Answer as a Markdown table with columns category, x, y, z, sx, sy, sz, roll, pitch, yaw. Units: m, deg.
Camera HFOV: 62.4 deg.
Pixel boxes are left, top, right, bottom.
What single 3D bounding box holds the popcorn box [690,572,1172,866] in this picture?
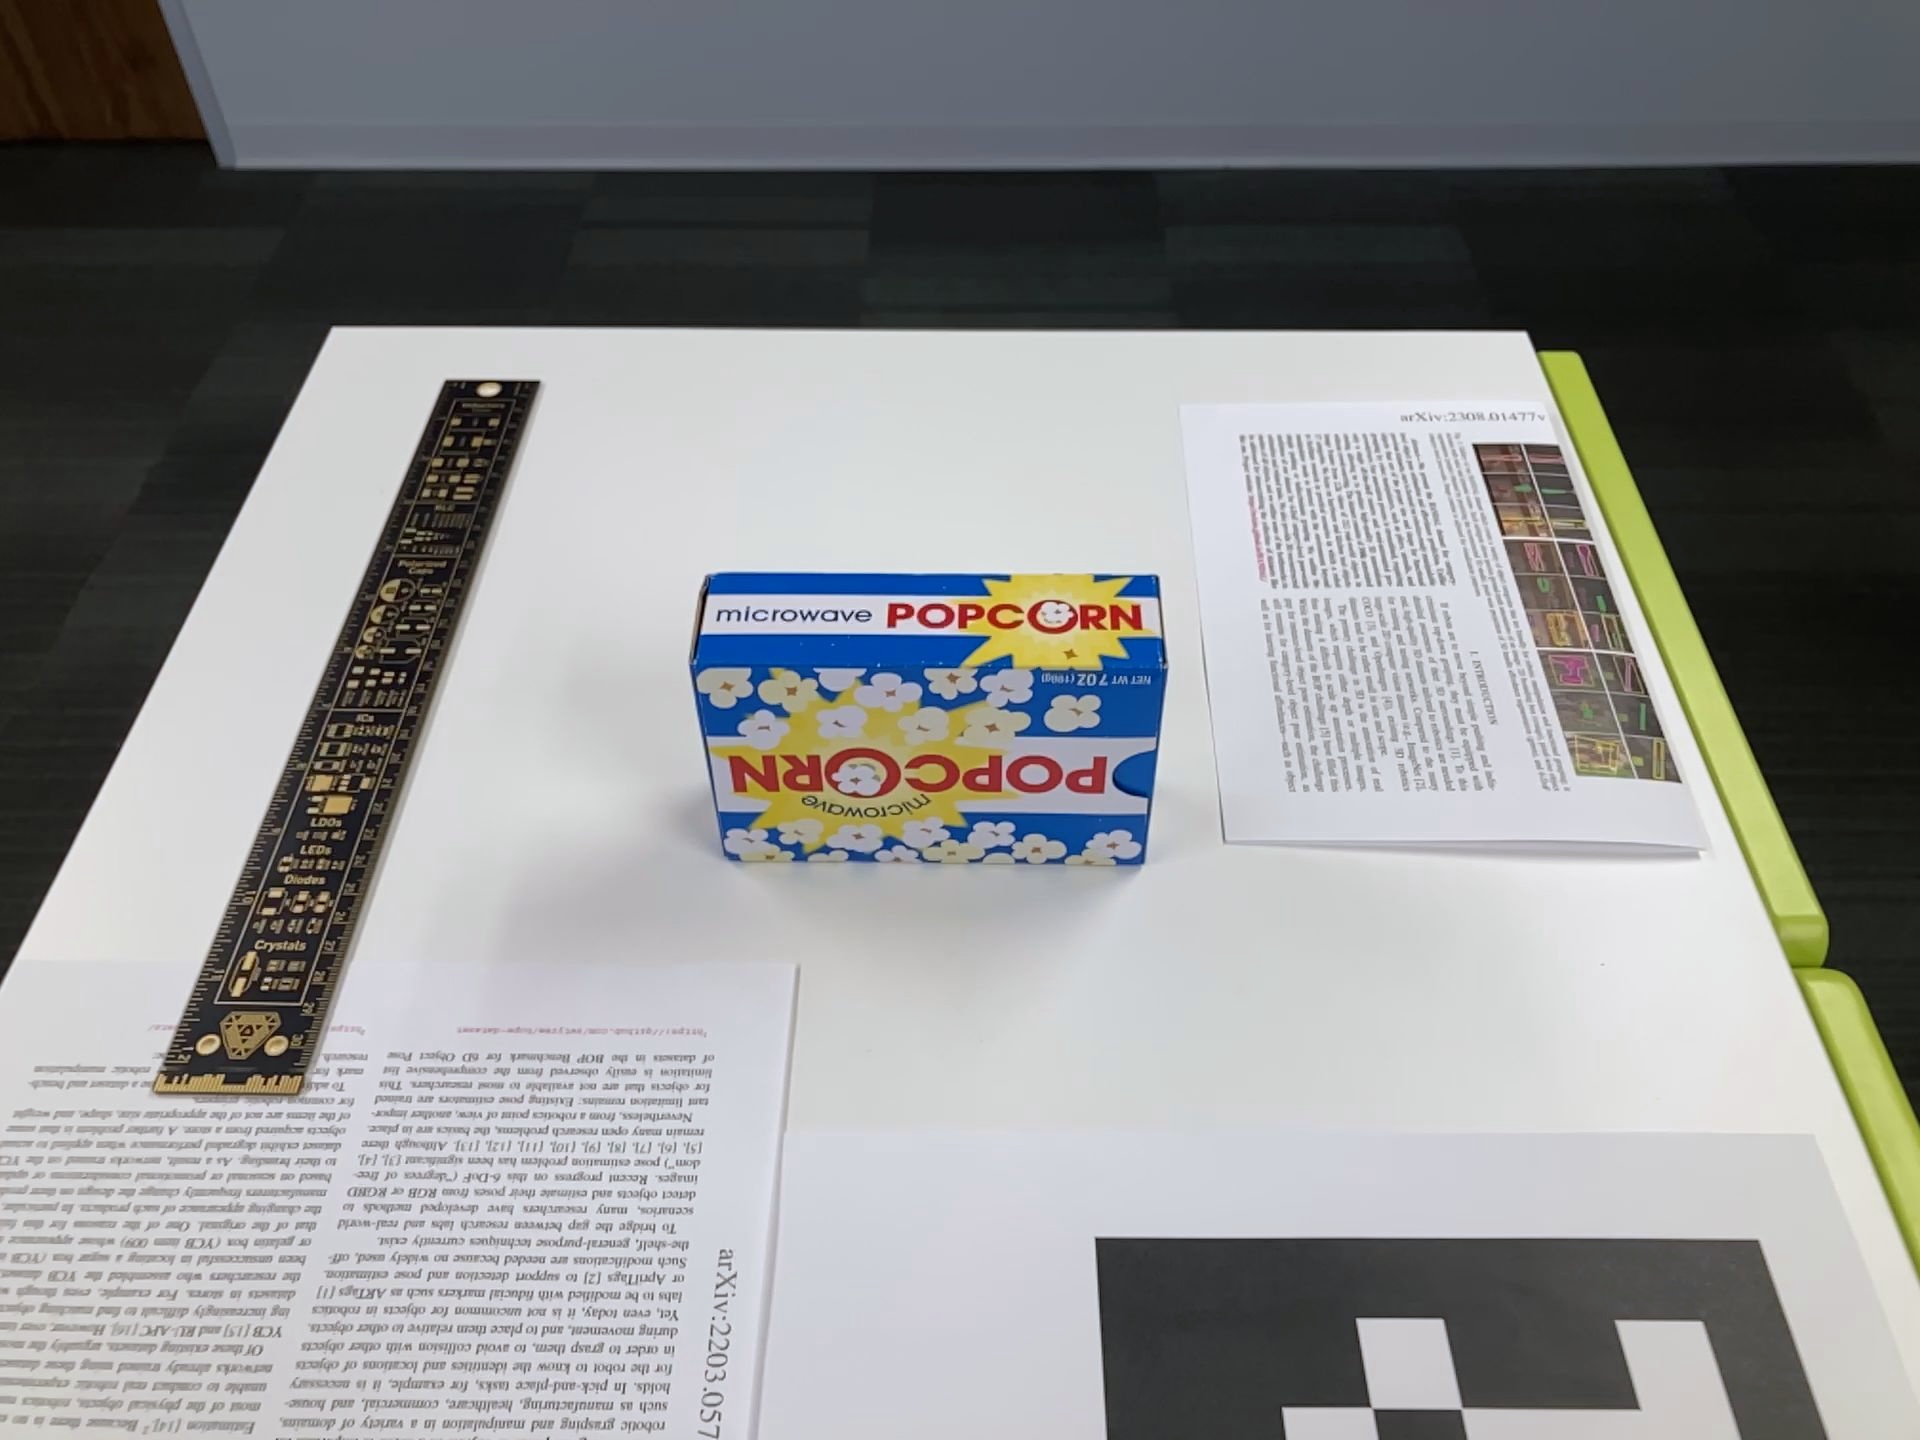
| category | x | y | z | sx | sy | sz | roll | pitch | yaw |
| --- | --- | --- | --- | --- | --- | --- | --- | --- | --- |
| popcorn box | -0.008 | 0.001 | 0.451 | 0.126 | 0.085 | 0.038 | 0 | 46 | 1 |
